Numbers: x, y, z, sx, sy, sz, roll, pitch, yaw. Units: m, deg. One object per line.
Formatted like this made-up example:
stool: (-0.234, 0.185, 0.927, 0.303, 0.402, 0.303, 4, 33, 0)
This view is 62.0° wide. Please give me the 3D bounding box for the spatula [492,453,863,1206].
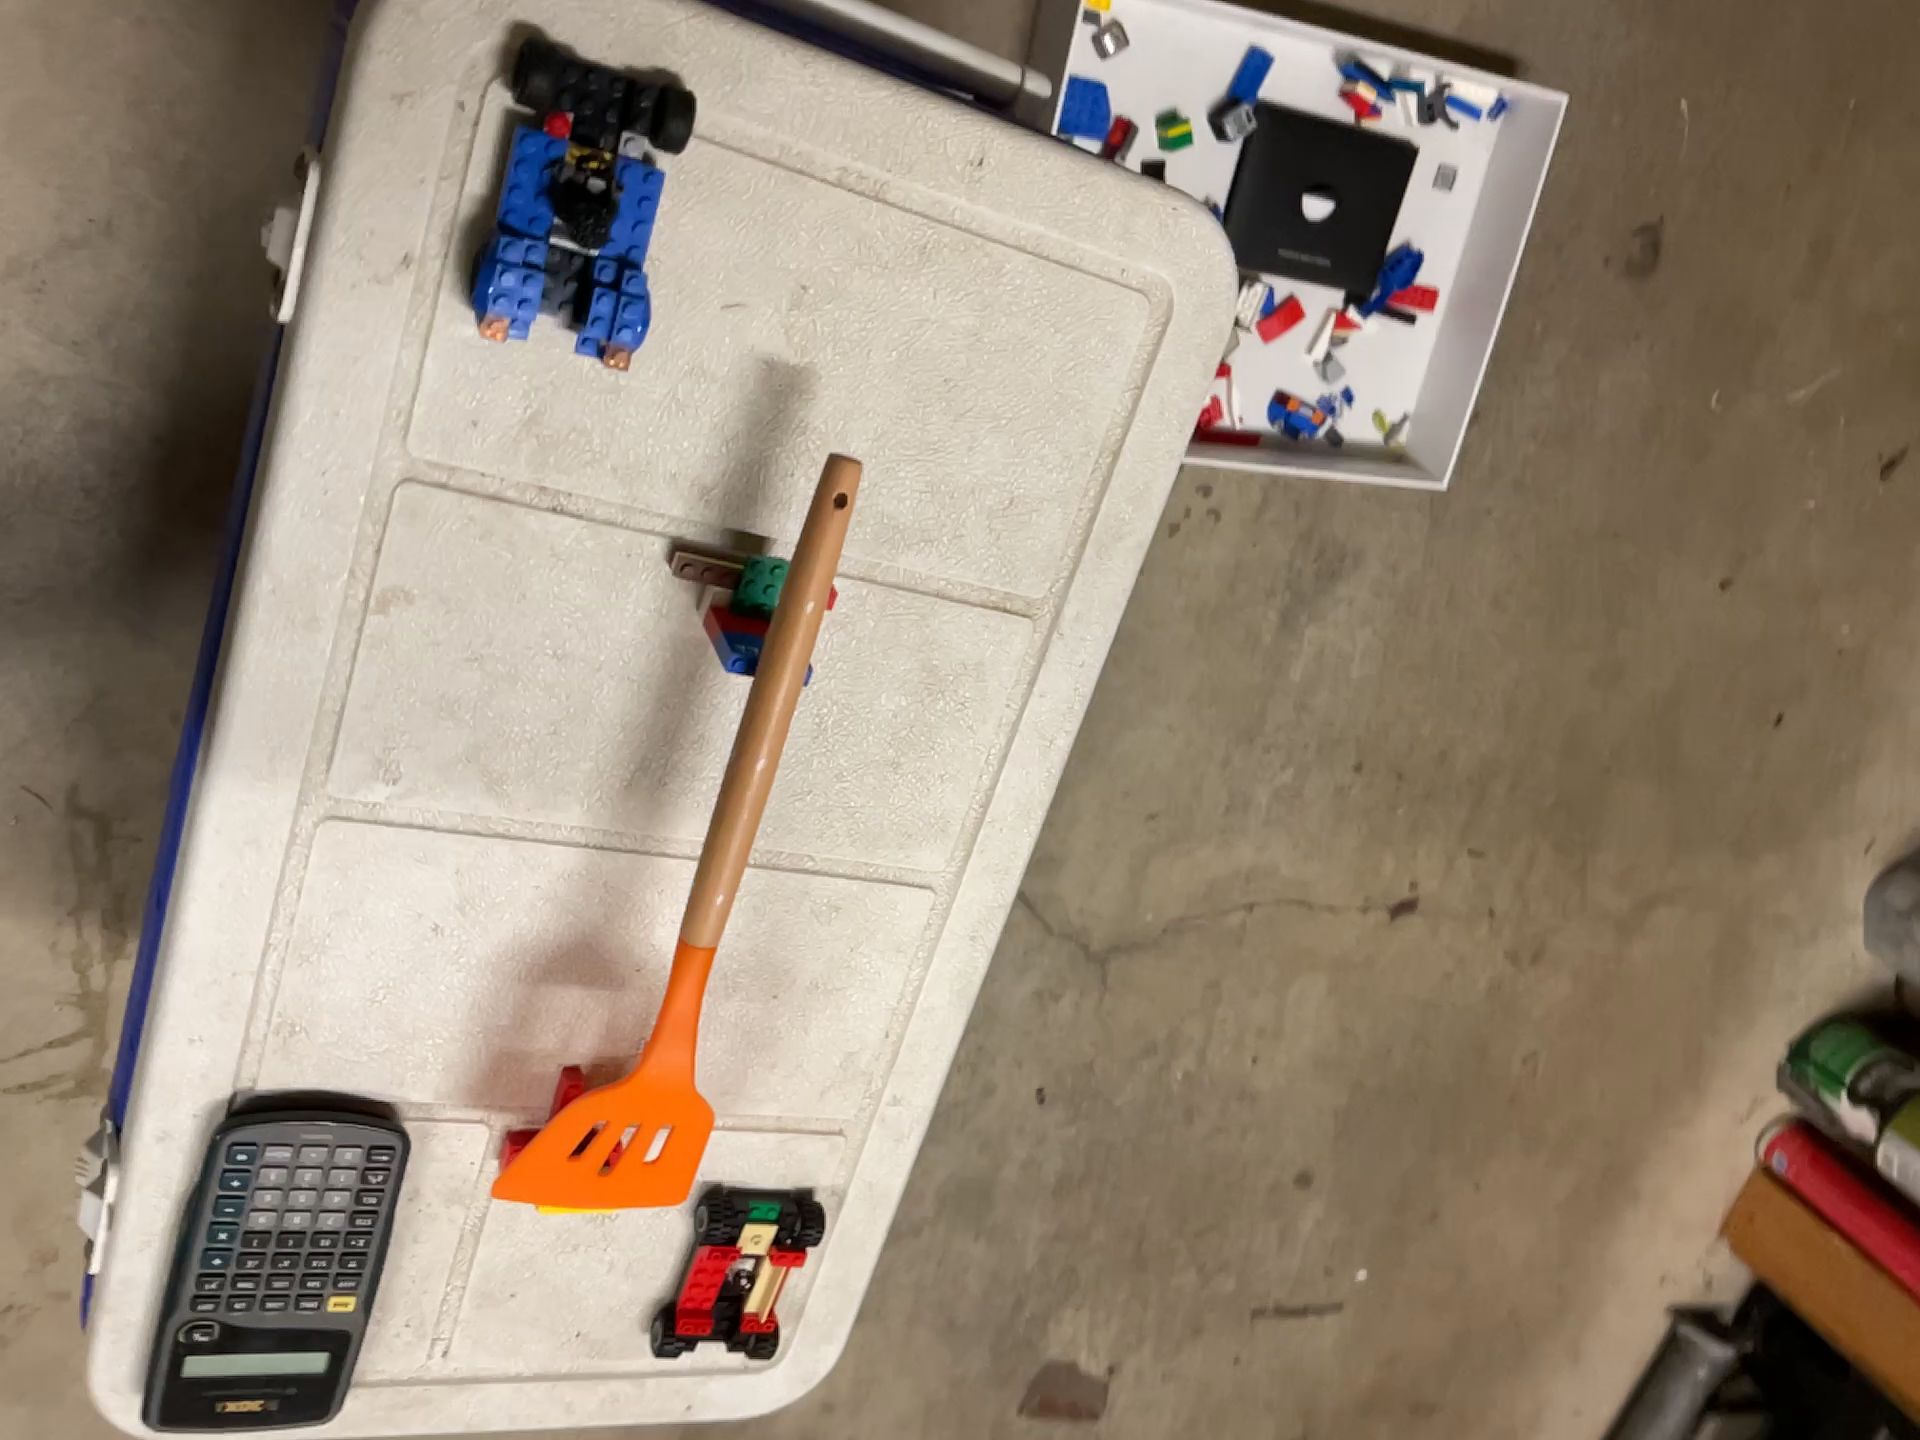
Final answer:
spatula: (-0.093, 0.055, 0.592, 0.081, 0.041, 0.322, 12, 105, -28)
